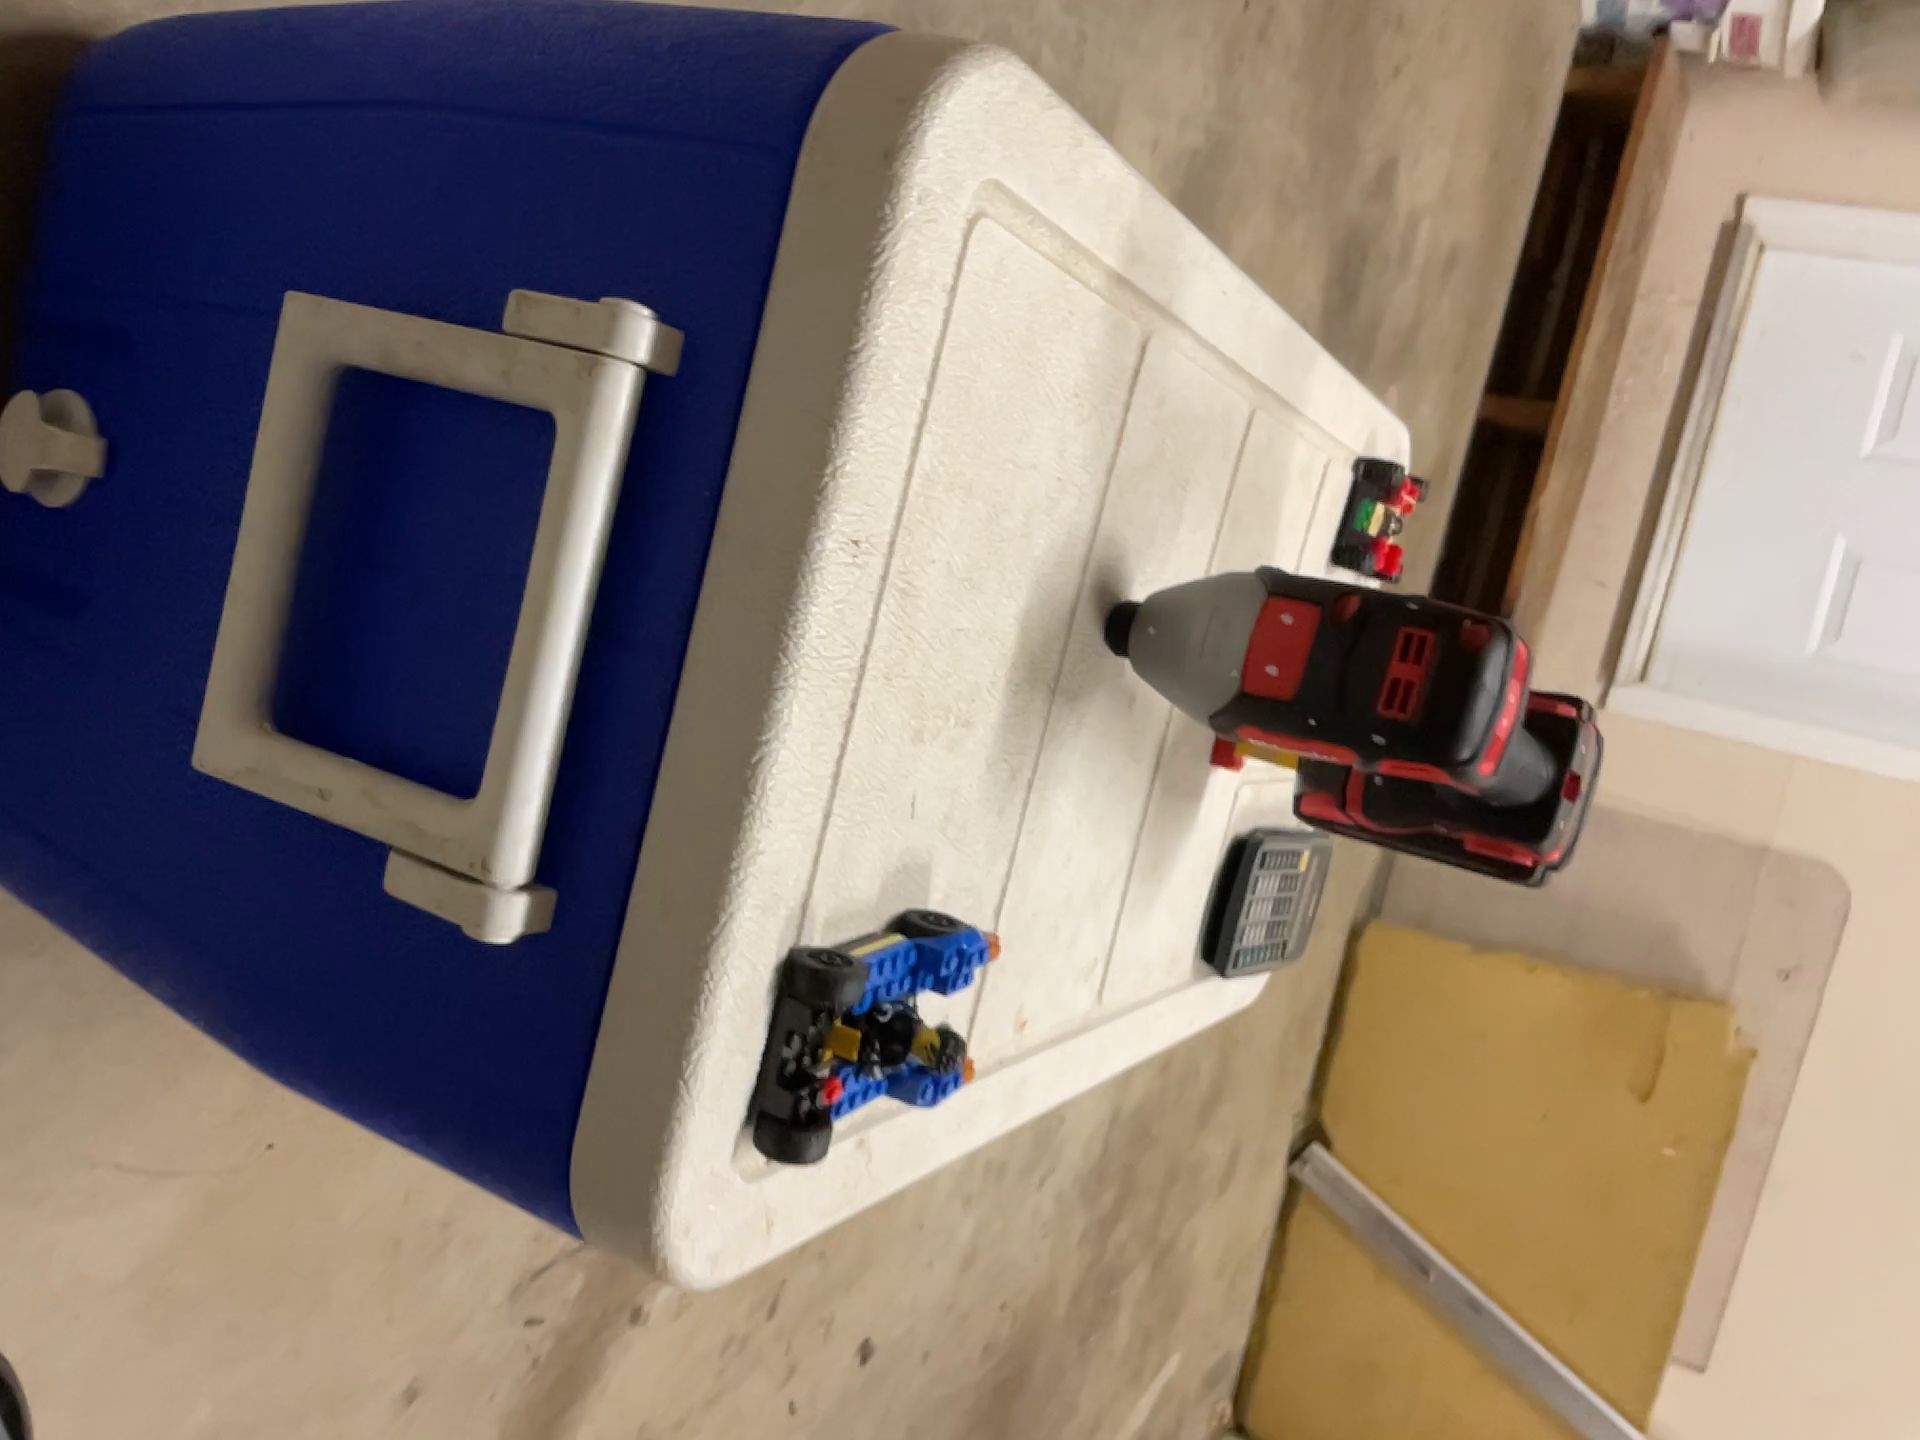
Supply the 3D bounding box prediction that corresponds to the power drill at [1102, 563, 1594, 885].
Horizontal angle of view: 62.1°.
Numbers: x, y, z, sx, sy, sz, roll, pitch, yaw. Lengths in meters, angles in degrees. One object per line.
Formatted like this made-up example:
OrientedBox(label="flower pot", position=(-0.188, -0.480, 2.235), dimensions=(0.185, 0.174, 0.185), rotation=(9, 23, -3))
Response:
OrientedBox(label="power drill", position=(0.153, -0.002, 0.603), dimensions=(0.219, 0.143, 0.078), rotation=(23, 83, -57))
